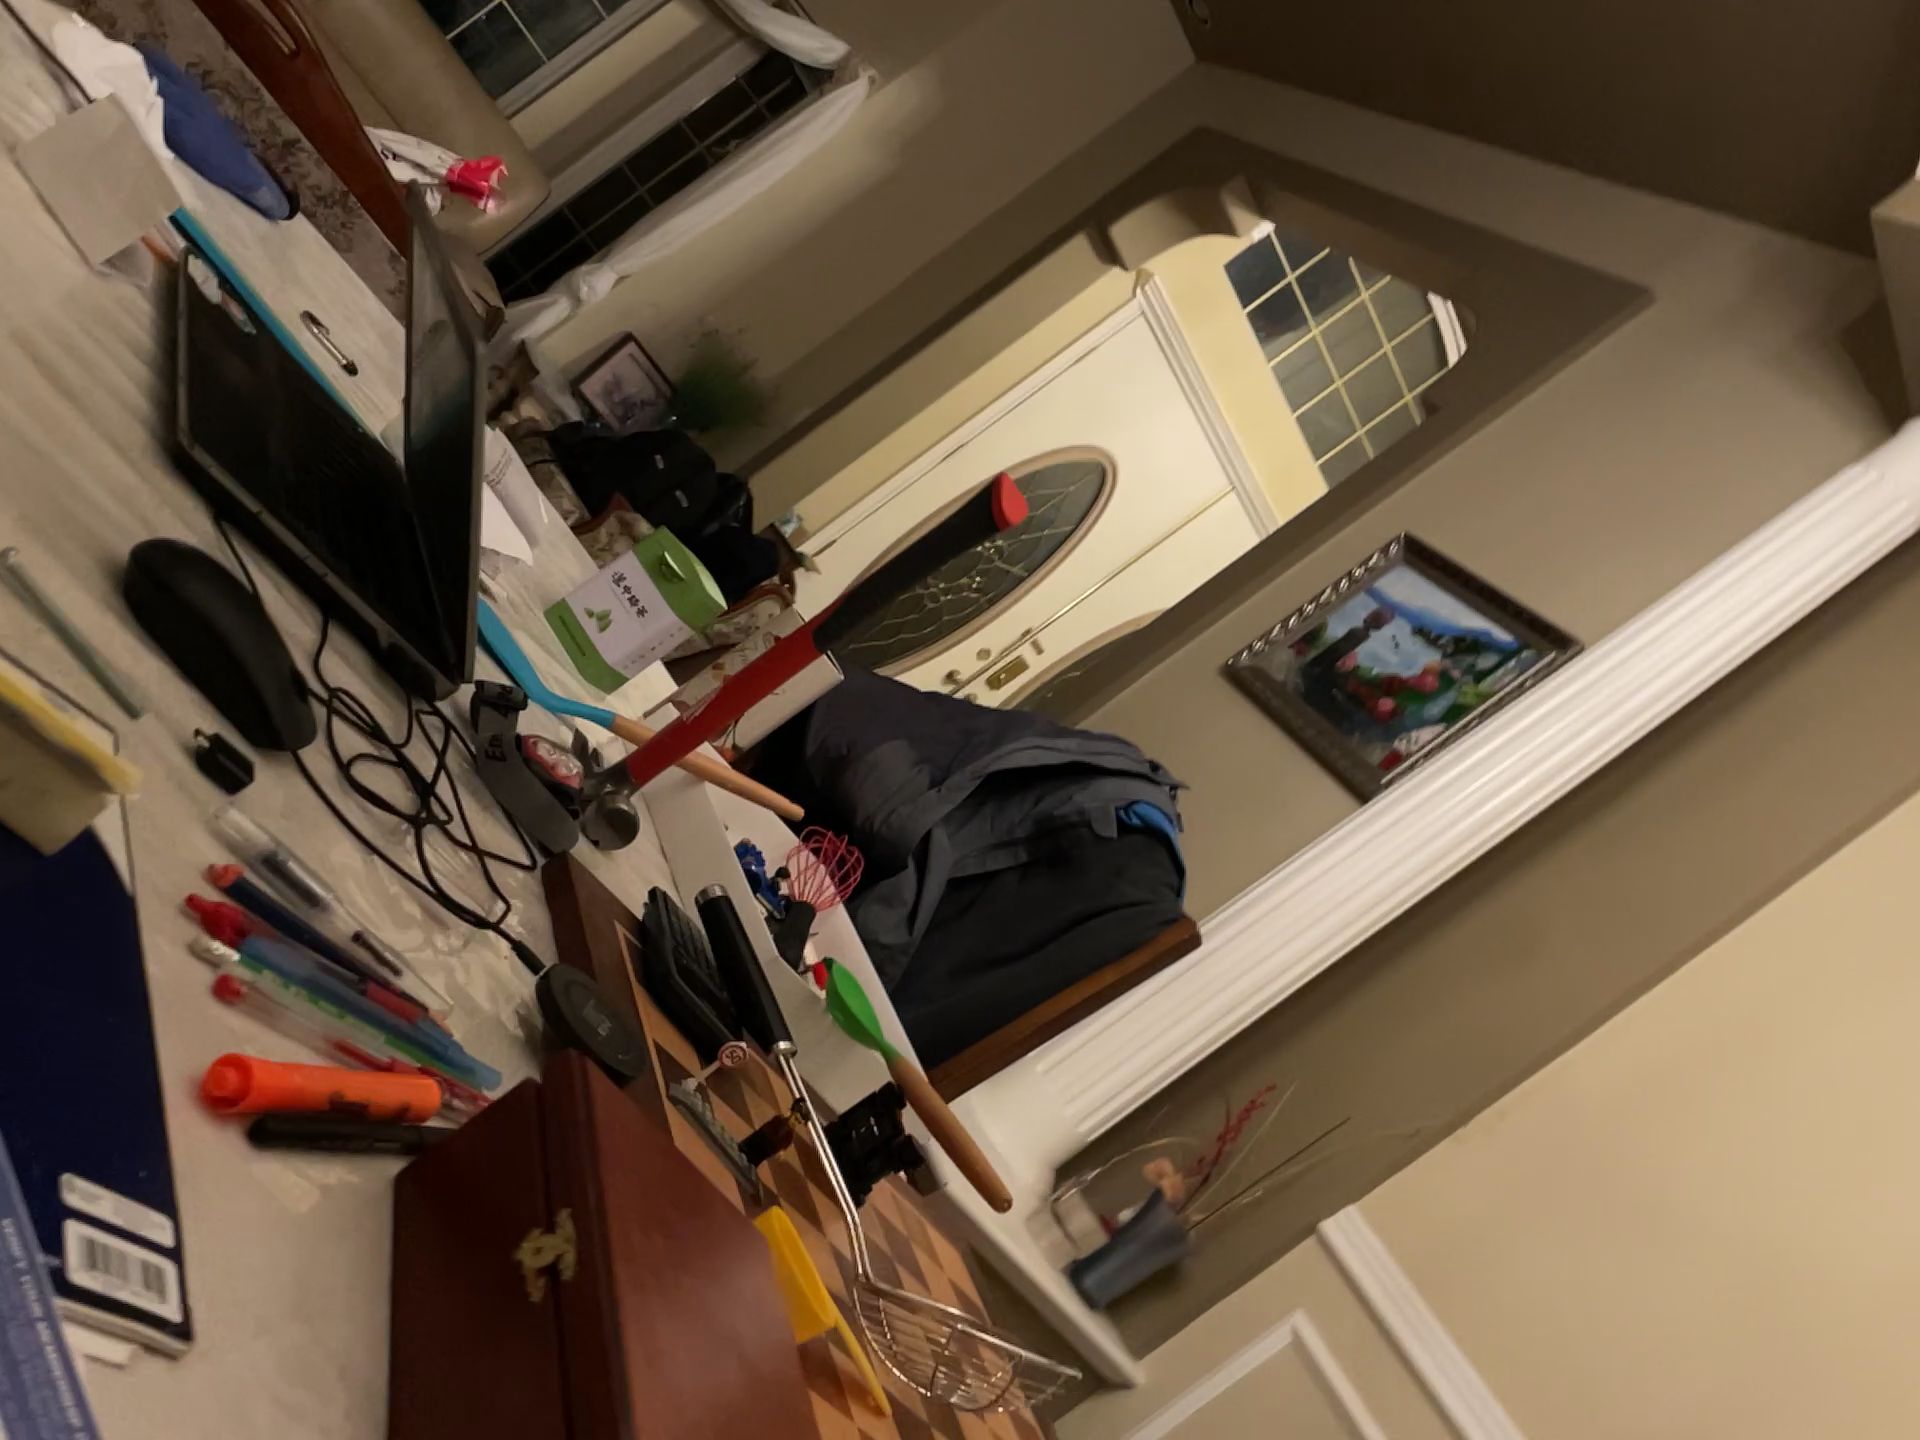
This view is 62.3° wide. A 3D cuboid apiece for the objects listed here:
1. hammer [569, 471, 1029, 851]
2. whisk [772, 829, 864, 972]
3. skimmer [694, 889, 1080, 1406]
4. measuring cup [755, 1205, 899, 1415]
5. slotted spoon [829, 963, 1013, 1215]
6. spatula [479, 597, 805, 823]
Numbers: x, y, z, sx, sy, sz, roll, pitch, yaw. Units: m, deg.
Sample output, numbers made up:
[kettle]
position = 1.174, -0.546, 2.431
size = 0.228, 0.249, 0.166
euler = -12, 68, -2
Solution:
[hammer]
position = -0.119, -0.058, 1.152
size = 0.038, 0.386, 0.143
euler = 53, 1, -32
[whisk]
position = -0.136, 0.165, 1.412
size = 0.073, 0.073, 0.296
euler = 36, 17, -5
[skimmer]
position = -0.056, 0.231, 0.925
size = 0.364, 0.090, 0.127
euler = 59, 5, 32
[measuring cup]
position = -0.066, 0.293, 0.757
size = 0.062, 0.029, 0.156
euler = 49, -16, 55
[slotted spoon]
position = -0.032, 0.240, 1.051
size = 0.070, 0.031, 0.314
euler = 56, -9, -24
[spatula]
position = -0.249, 0.004, 1.266
size = 0.317, 0.044, 0.082
euler = 30, 11, -27
